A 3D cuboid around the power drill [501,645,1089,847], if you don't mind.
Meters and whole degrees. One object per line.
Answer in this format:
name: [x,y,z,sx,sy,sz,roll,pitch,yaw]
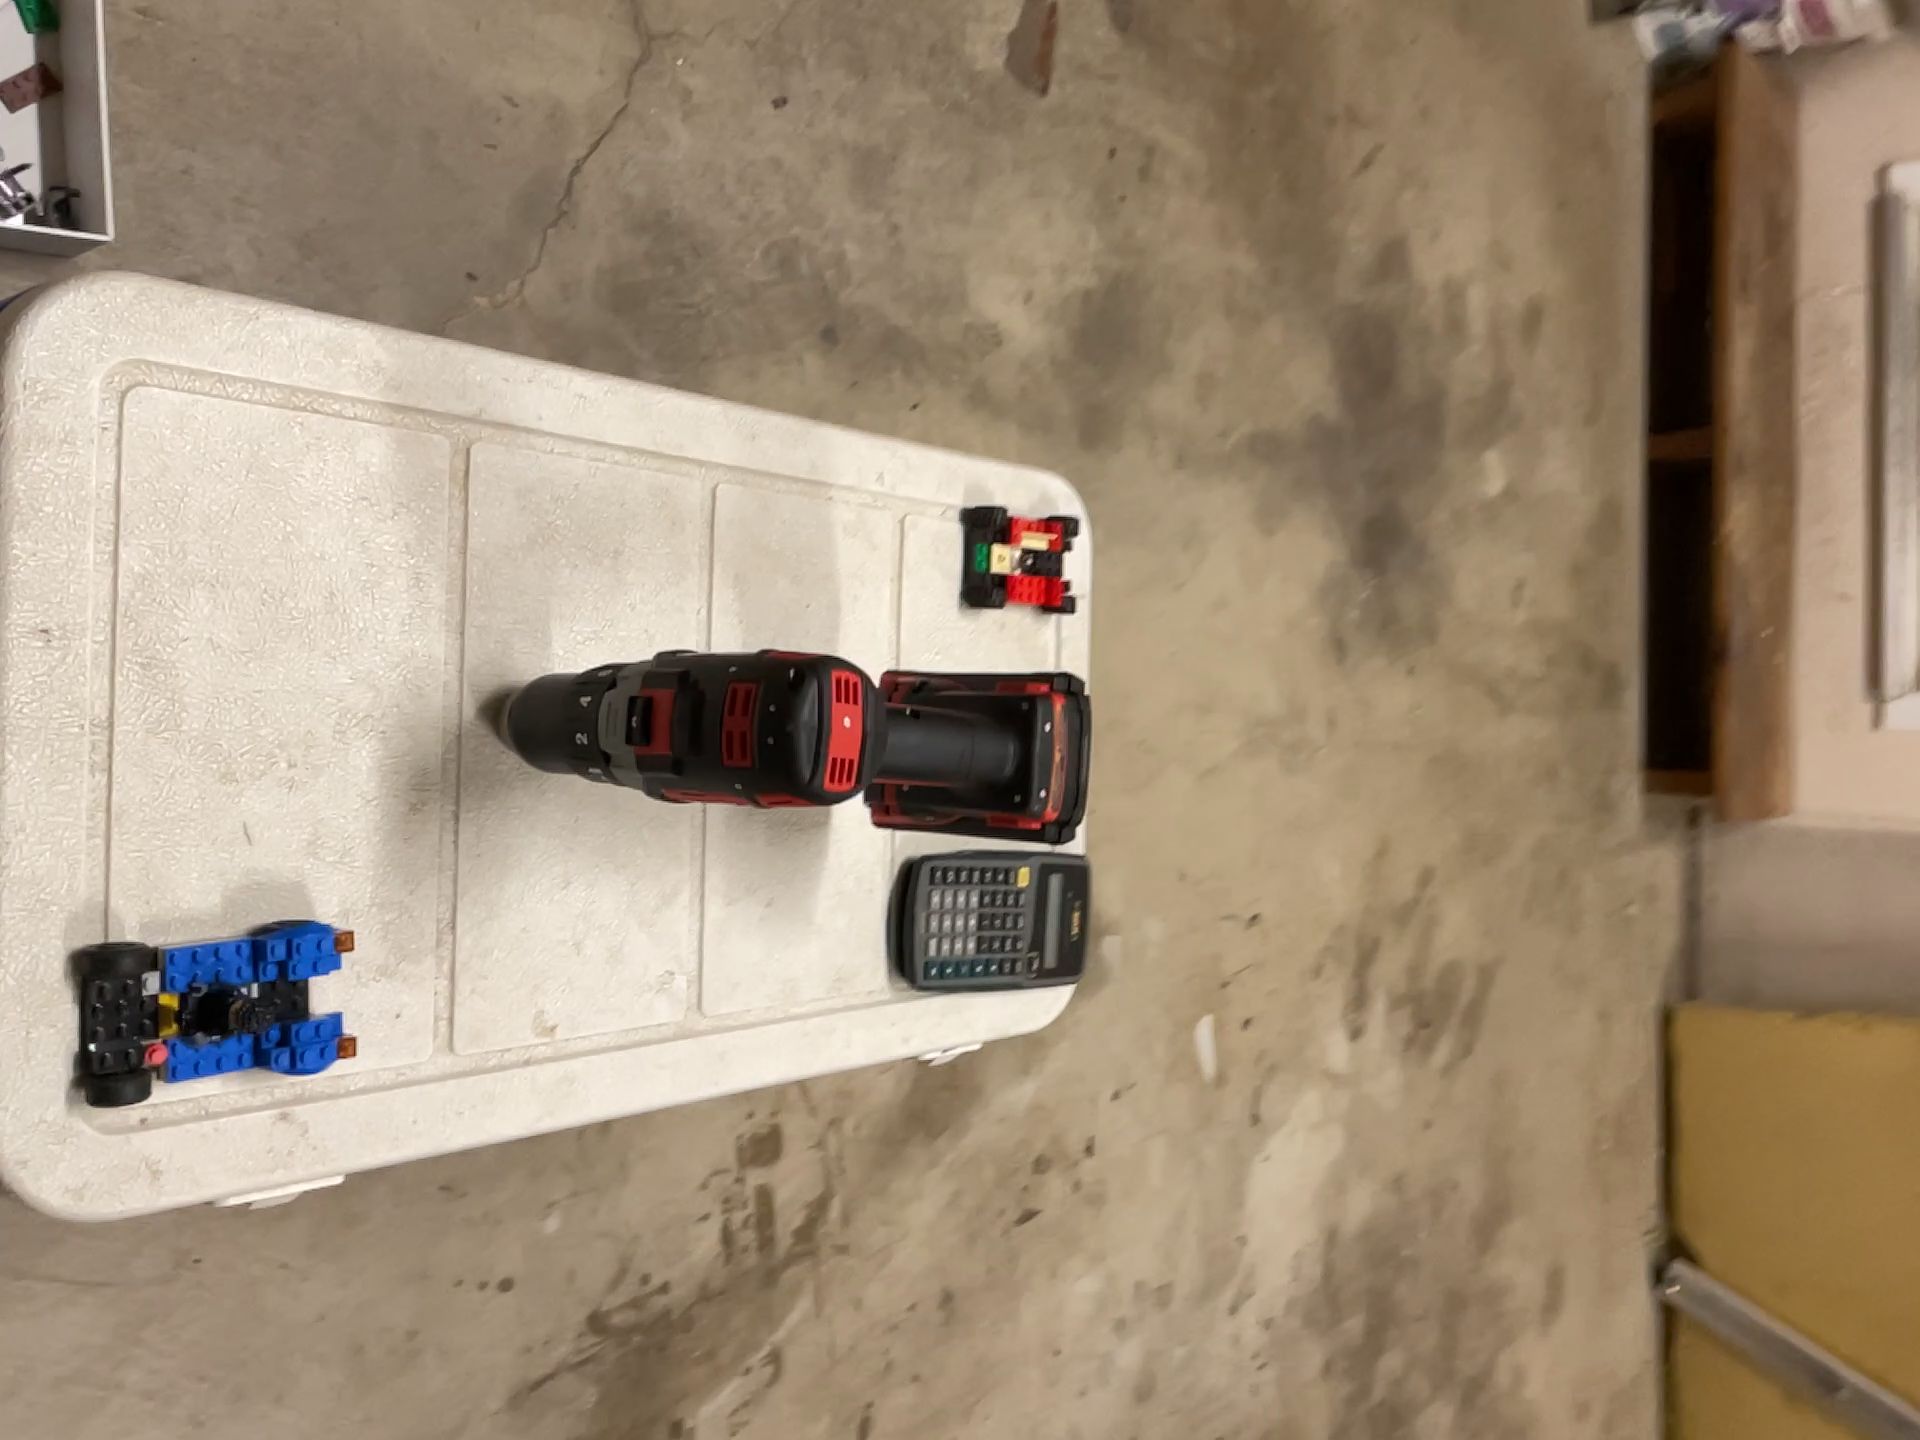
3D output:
power drill: [-0.068,0.008,0.704,0.227,0.188,0.080,8,86,-53]
